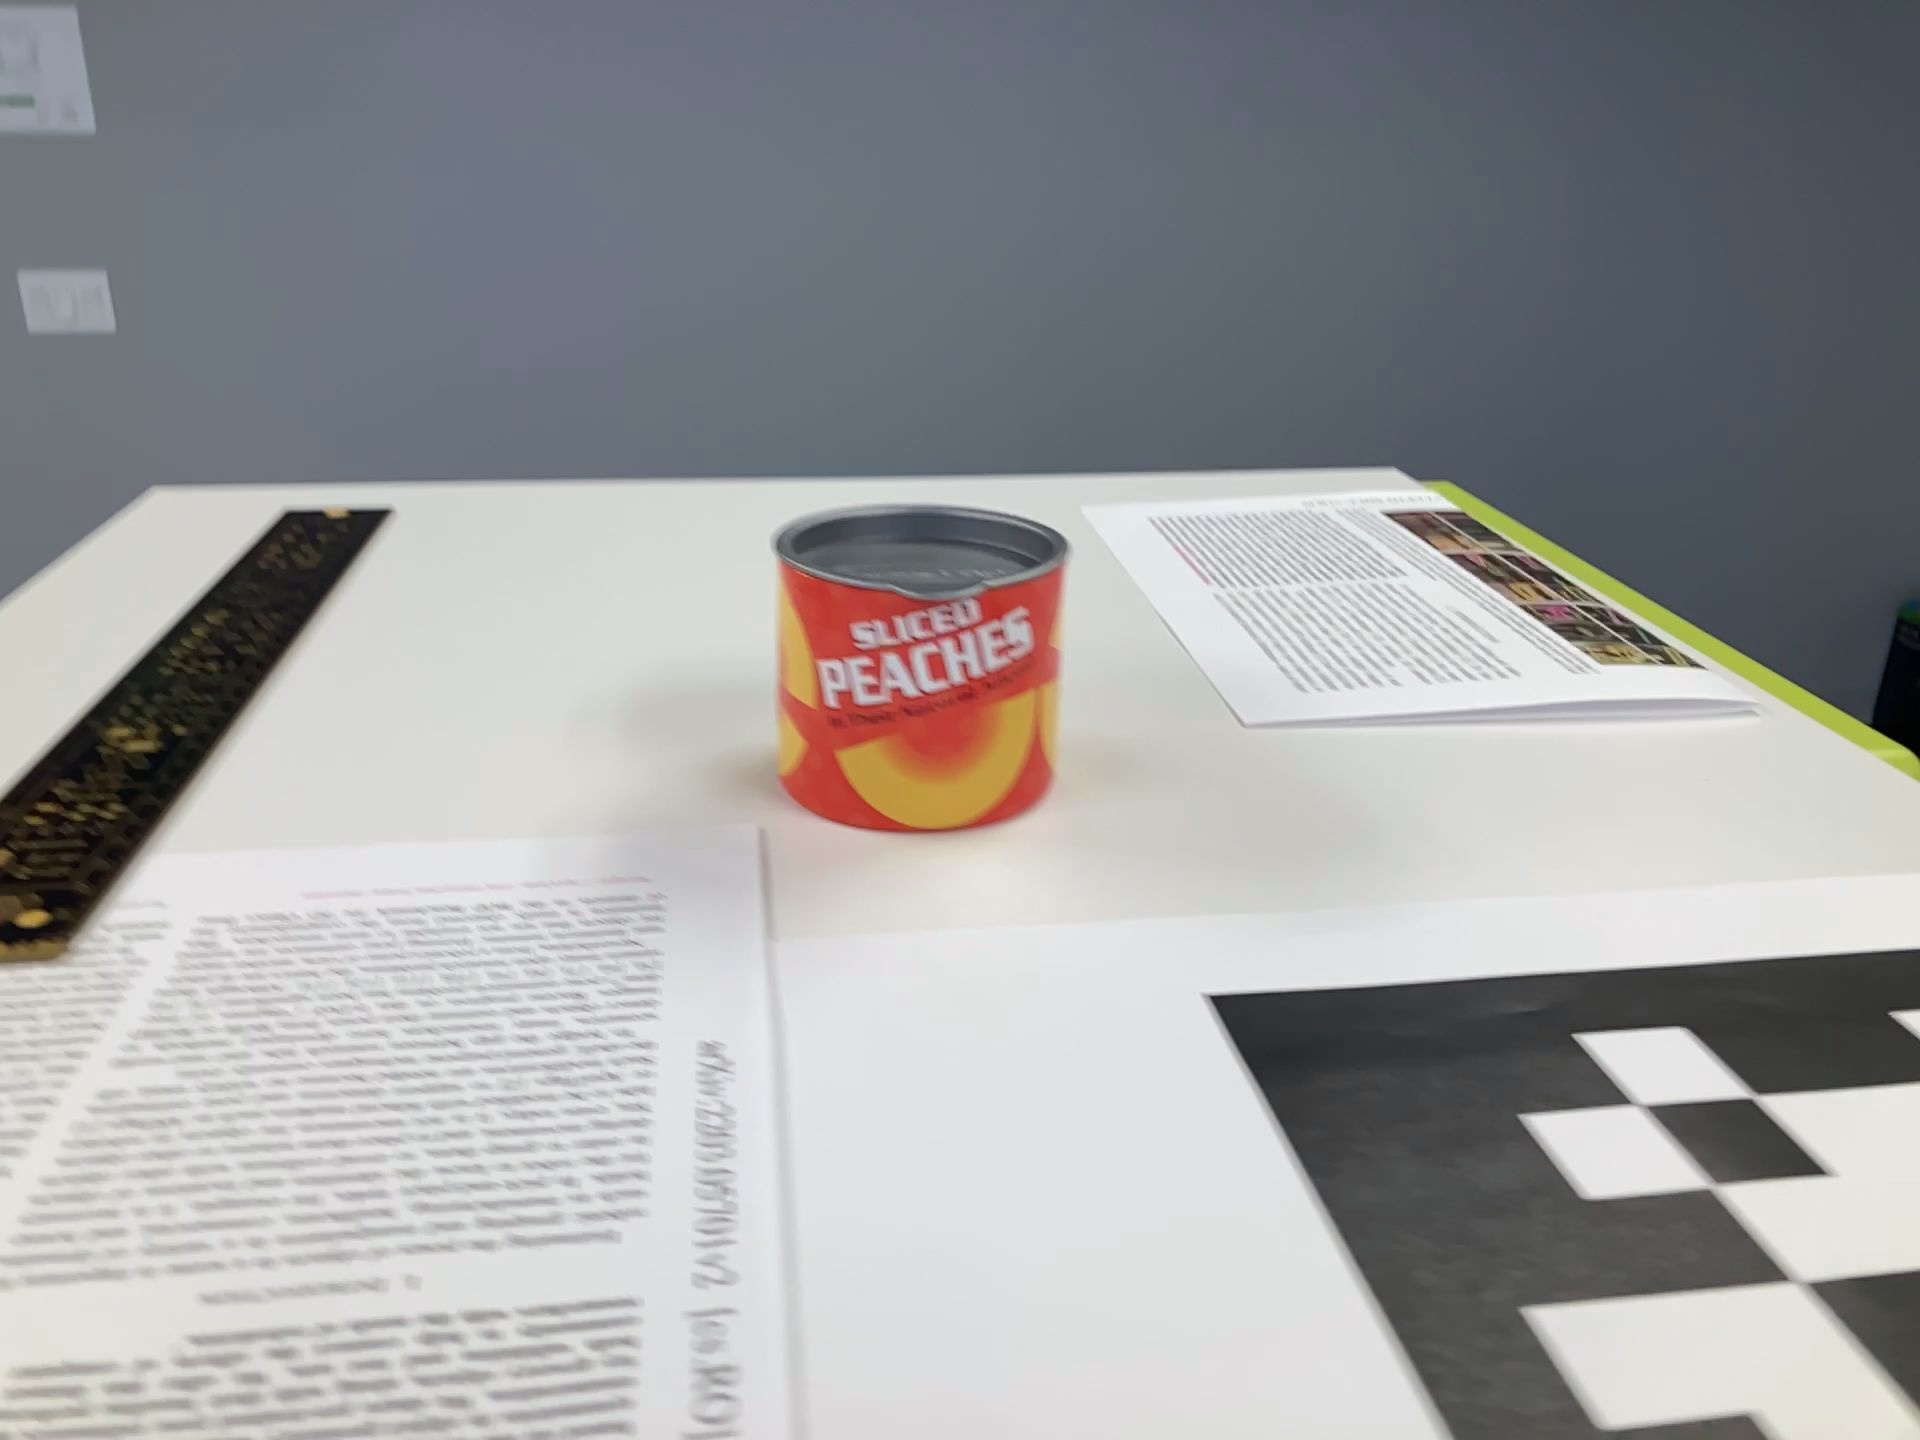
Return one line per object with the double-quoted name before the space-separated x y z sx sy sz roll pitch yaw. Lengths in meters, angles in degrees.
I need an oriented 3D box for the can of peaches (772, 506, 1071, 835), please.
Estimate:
"can of peaches" -0.009 -0.012 0.361 0.071 0.058 0.071 2 22 -1
